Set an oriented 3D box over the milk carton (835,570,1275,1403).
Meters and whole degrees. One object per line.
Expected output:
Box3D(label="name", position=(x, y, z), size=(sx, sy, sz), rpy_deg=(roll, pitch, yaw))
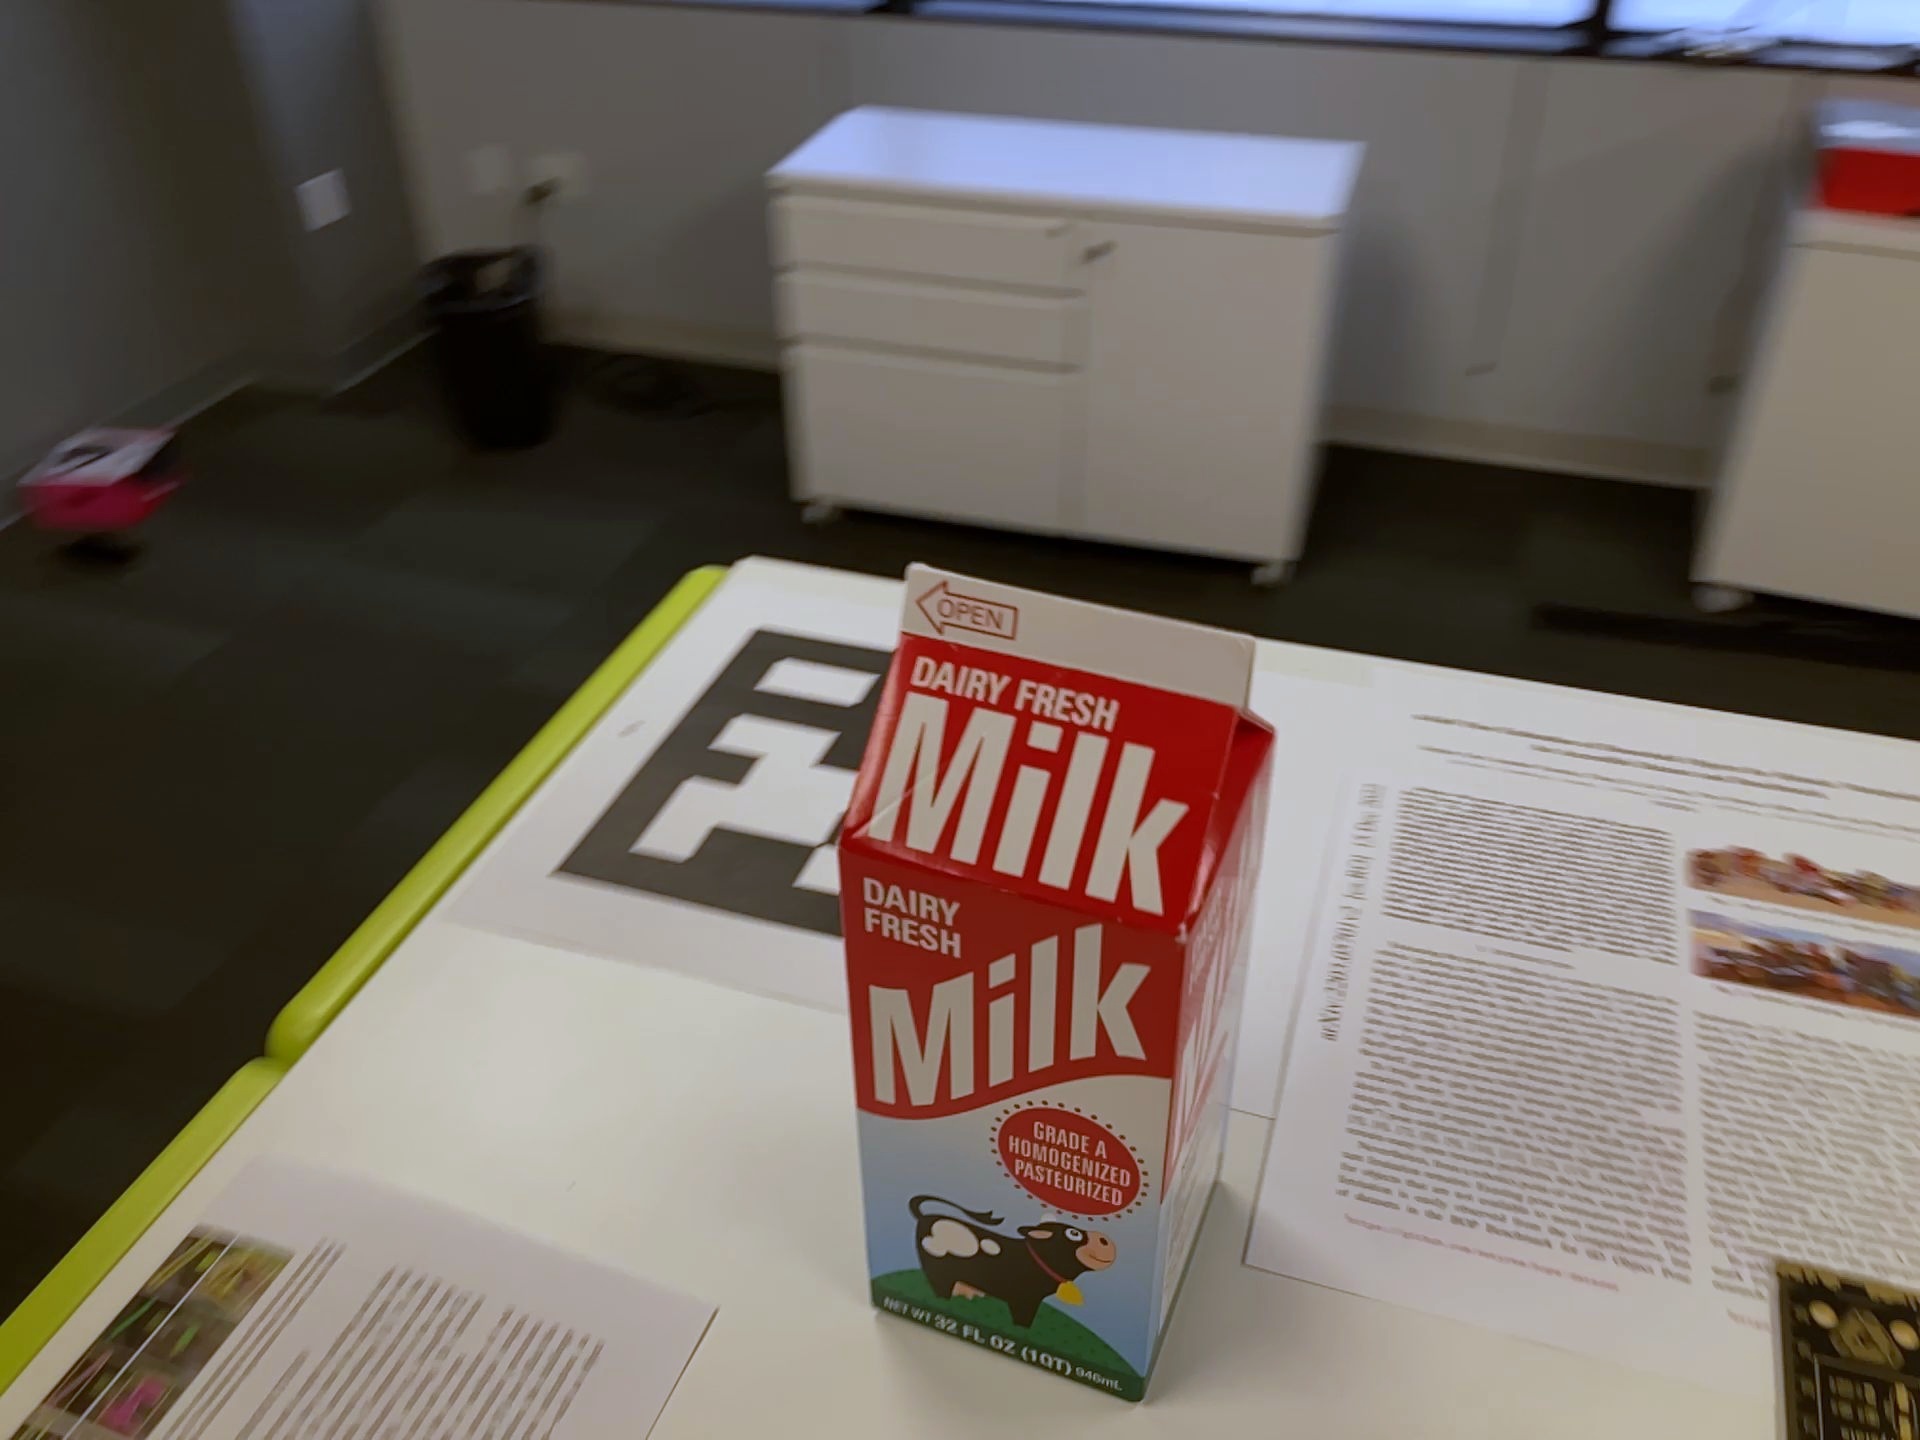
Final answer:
Box3D(label="milk carton", position=(0.022, 0.056, 0.352), size=(0.072, 0.190, 0.073), rpy_deg=(14, 38, 18))
